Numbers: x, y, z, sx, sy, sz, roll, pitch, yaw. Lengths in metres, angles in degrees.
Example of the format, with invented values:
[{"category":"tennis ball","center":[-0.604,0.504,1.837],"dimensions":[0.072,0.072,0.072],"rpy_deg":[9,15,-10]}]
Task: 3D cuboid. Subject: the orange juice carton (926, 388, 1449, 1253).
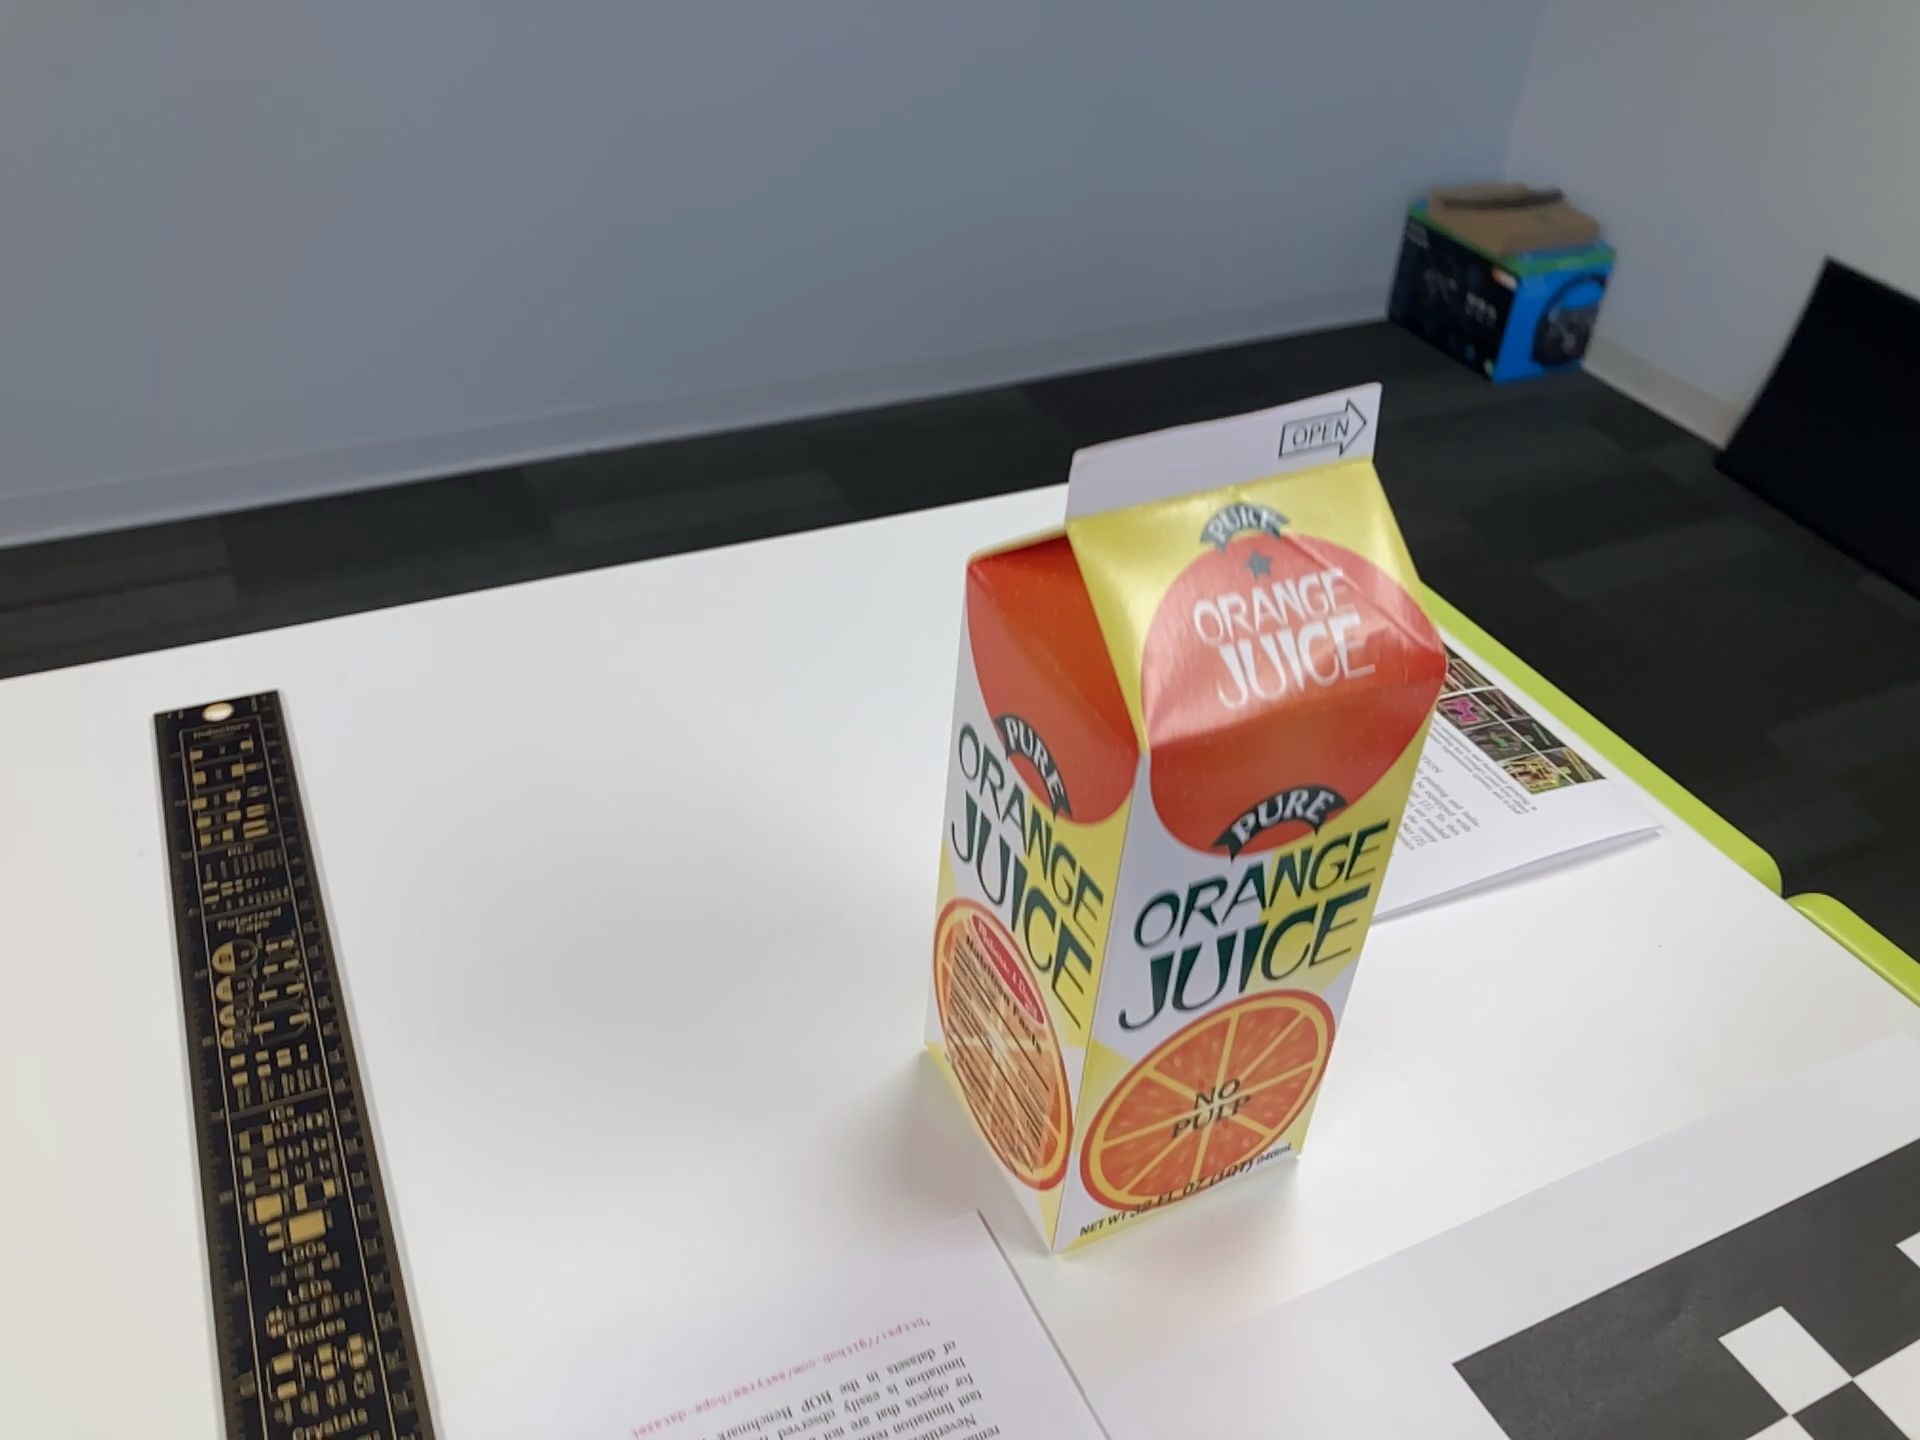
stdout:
[{"category":"orange juice carton","center":[0.044,0.021,0.348],"dimensions":[0.072,0.192,0.073],"rpy_deg":[-14,41,-24]}]
